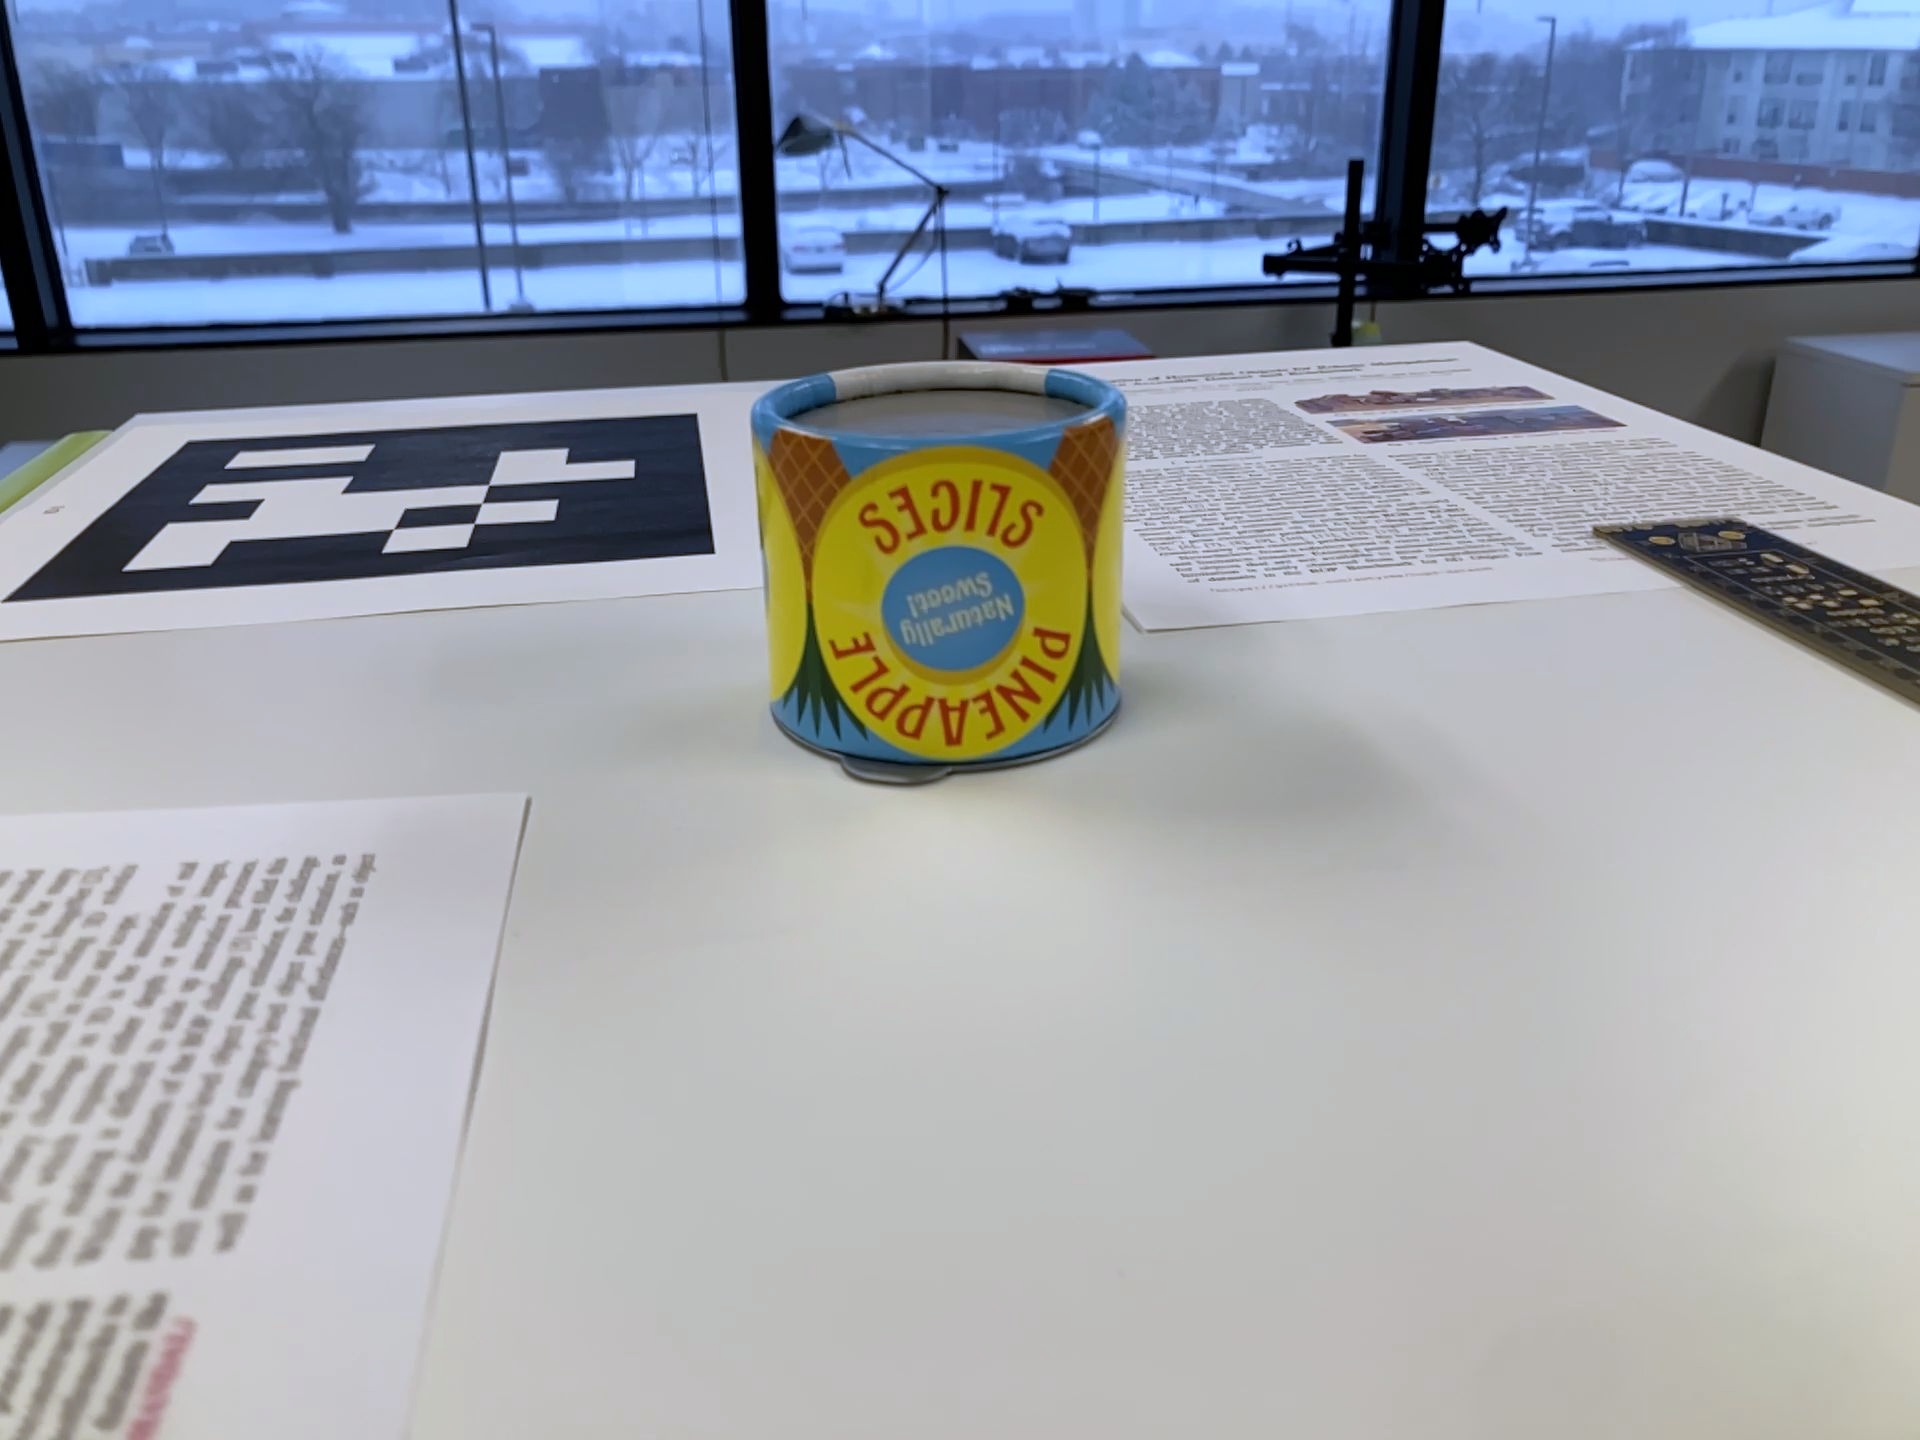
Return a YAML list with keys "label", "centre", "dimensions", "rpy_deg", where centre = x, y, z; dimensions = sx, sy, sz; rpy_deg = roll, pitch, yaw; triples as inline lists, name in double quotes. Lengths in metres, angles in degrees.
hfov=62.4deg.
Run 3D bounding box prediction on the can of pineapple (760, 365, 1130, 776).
- label: "can of pineapple"
  centre: [-0.002, -0.030, 0.288]
  dimensions: [0.071, 0.058, 0.071]
  rpy_deg: [-1, 22, 0]
